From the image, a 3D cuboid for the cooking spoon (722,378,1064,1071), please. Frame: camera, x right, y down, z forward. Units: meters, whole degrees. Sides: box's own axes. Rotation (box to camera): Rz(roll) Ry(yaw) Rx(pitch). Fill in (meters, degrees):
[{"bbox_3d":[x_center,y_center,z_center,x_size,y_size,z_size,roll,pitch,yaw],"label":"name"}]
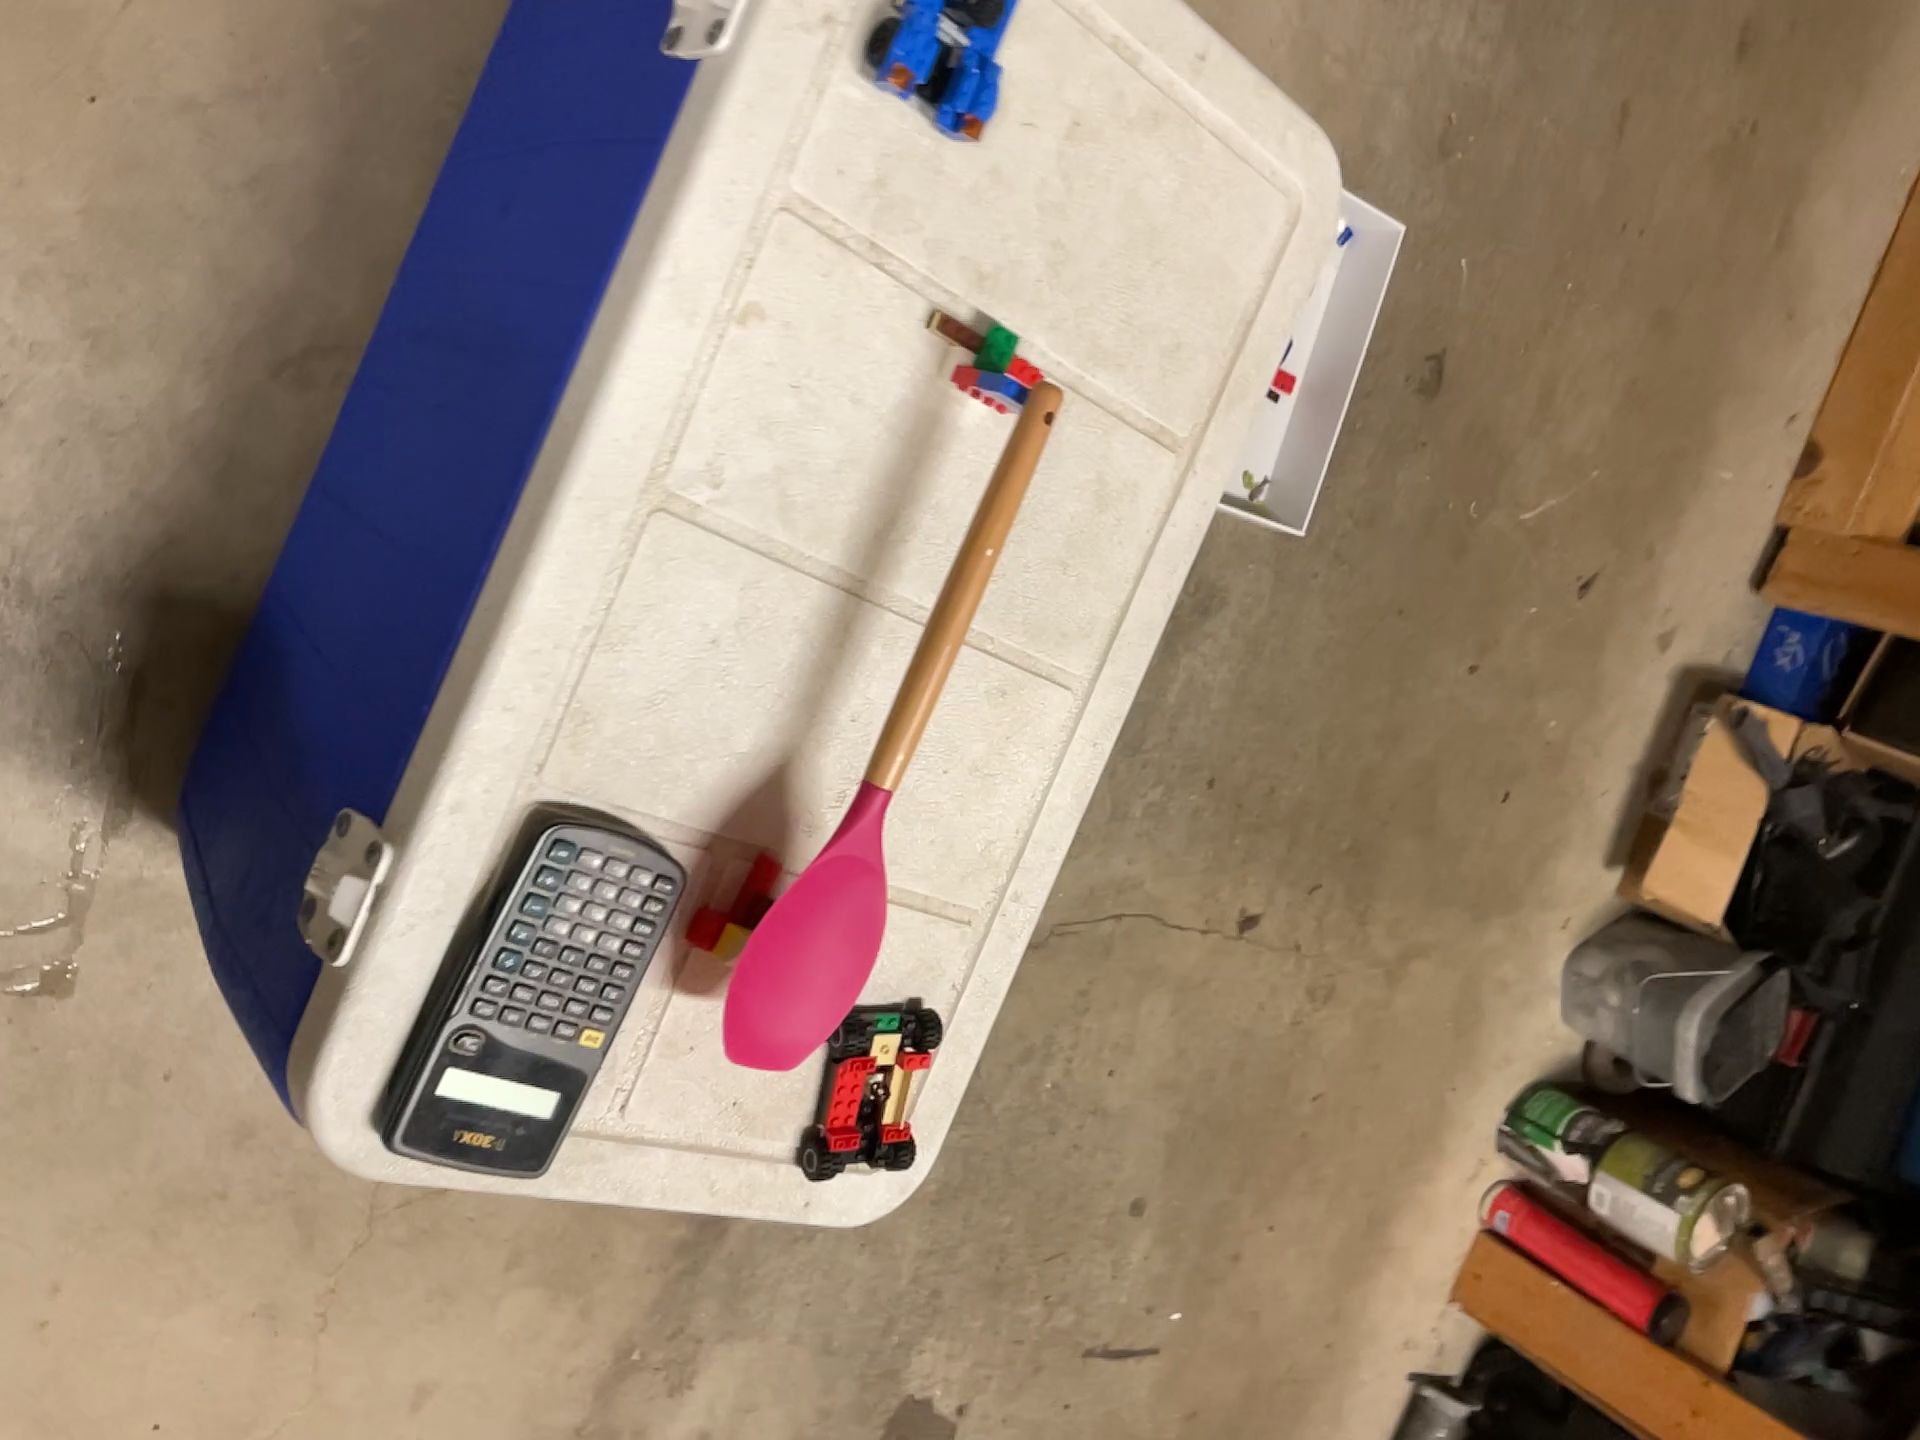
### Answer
[{"bbox_3d":[-0.025,0.004,0.680,0.069,0.017,0.319,21,95,-40],"label":"cooking spoon"}]
